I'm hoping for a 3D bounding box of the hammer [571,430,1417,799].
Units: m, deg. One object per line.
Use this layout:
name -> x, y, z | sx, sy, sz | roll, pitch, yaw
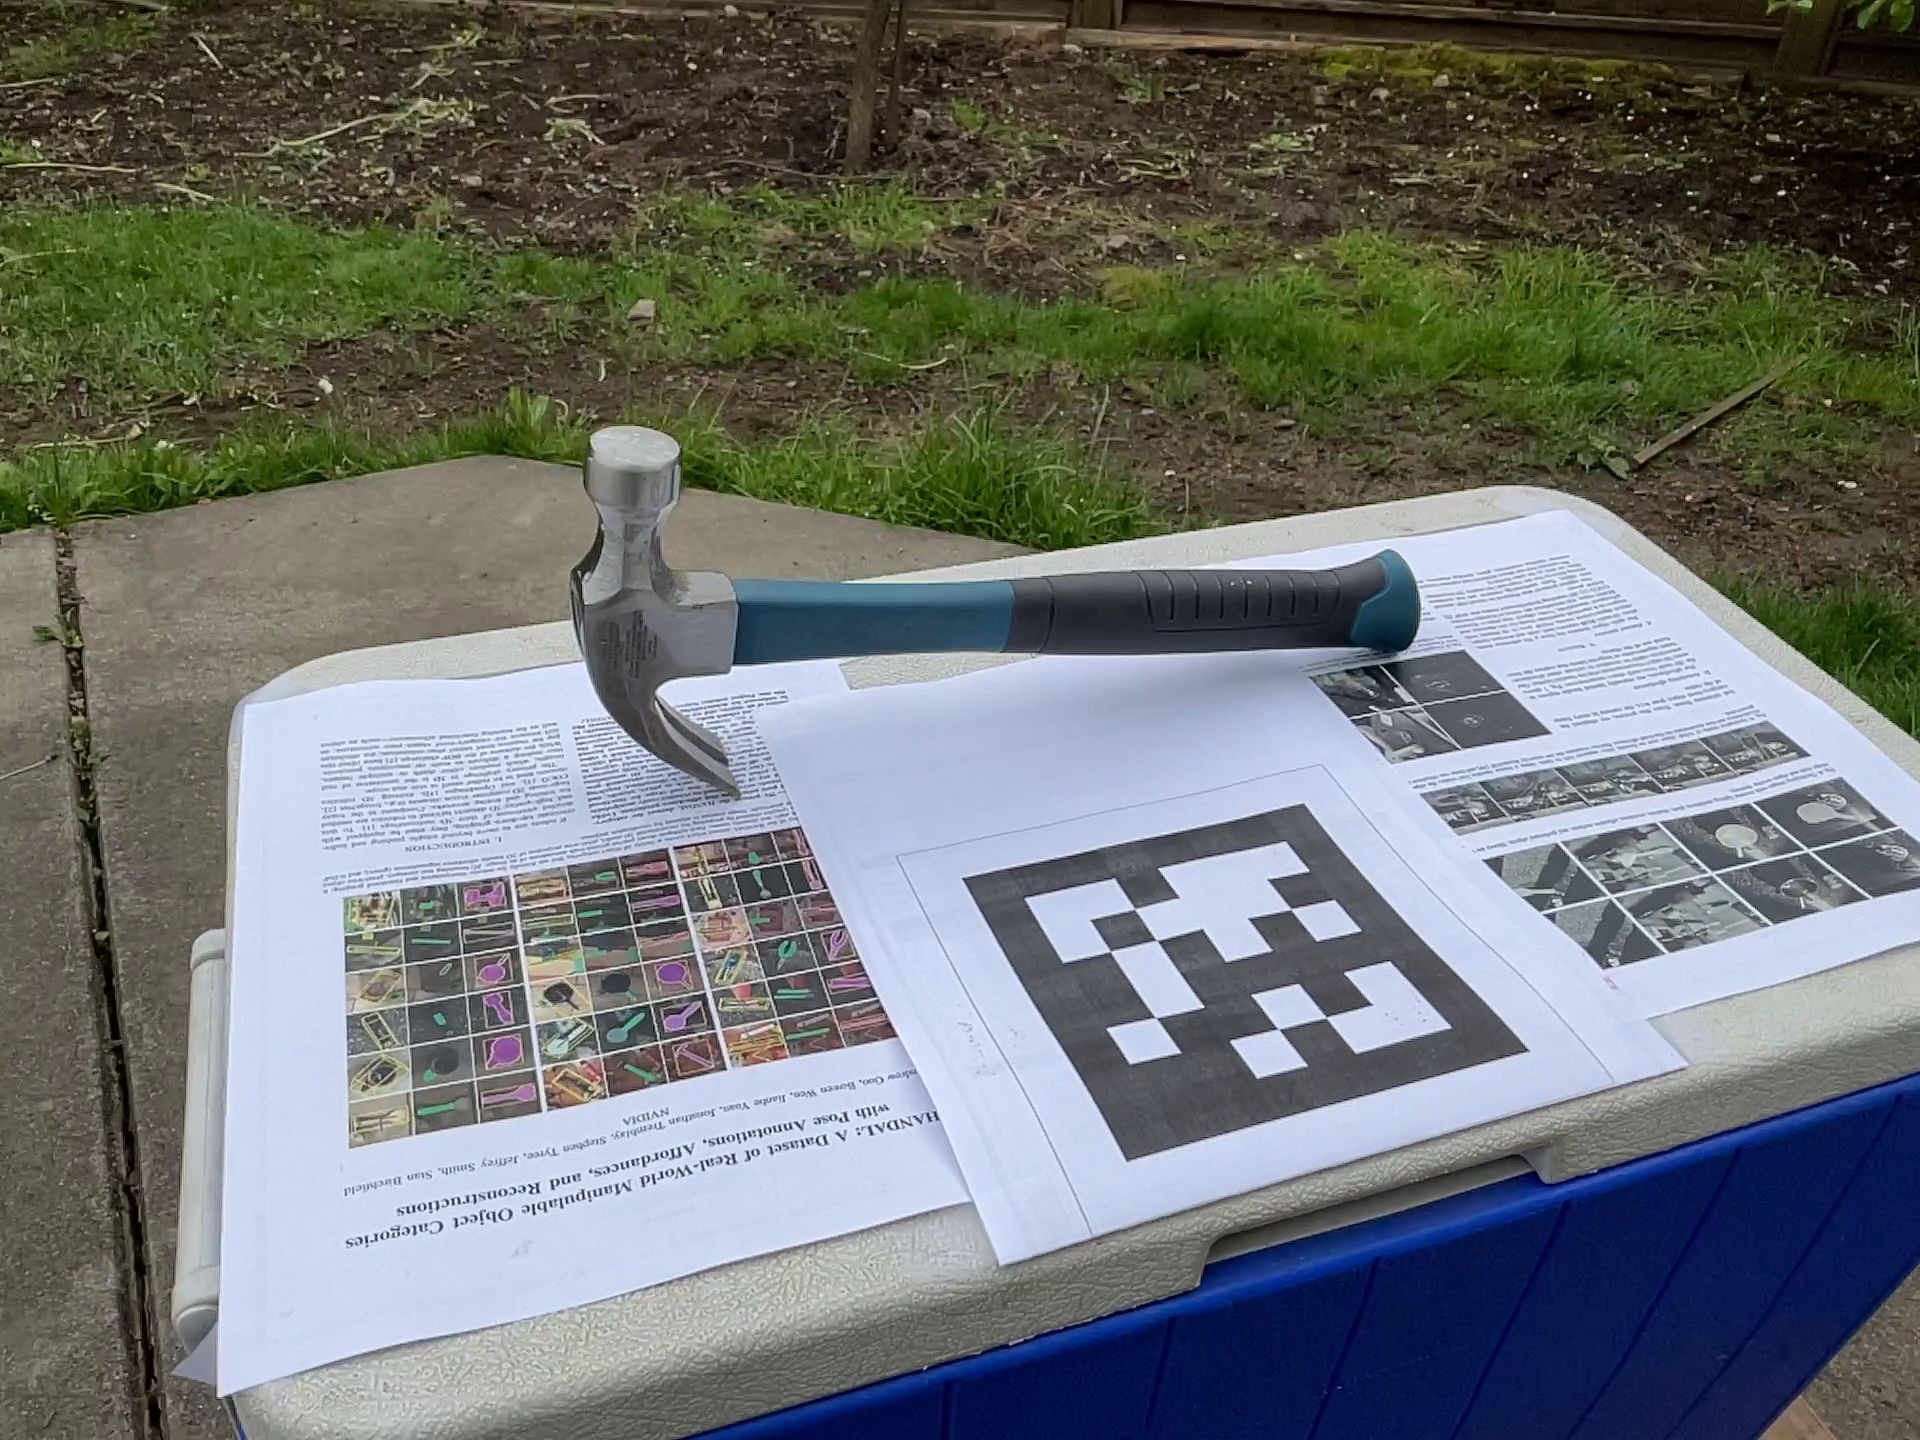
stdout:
hammer -> 0.028, -0.038, 0.579 | 0.331, 0.128, 0.033 | -3, 37, -23
